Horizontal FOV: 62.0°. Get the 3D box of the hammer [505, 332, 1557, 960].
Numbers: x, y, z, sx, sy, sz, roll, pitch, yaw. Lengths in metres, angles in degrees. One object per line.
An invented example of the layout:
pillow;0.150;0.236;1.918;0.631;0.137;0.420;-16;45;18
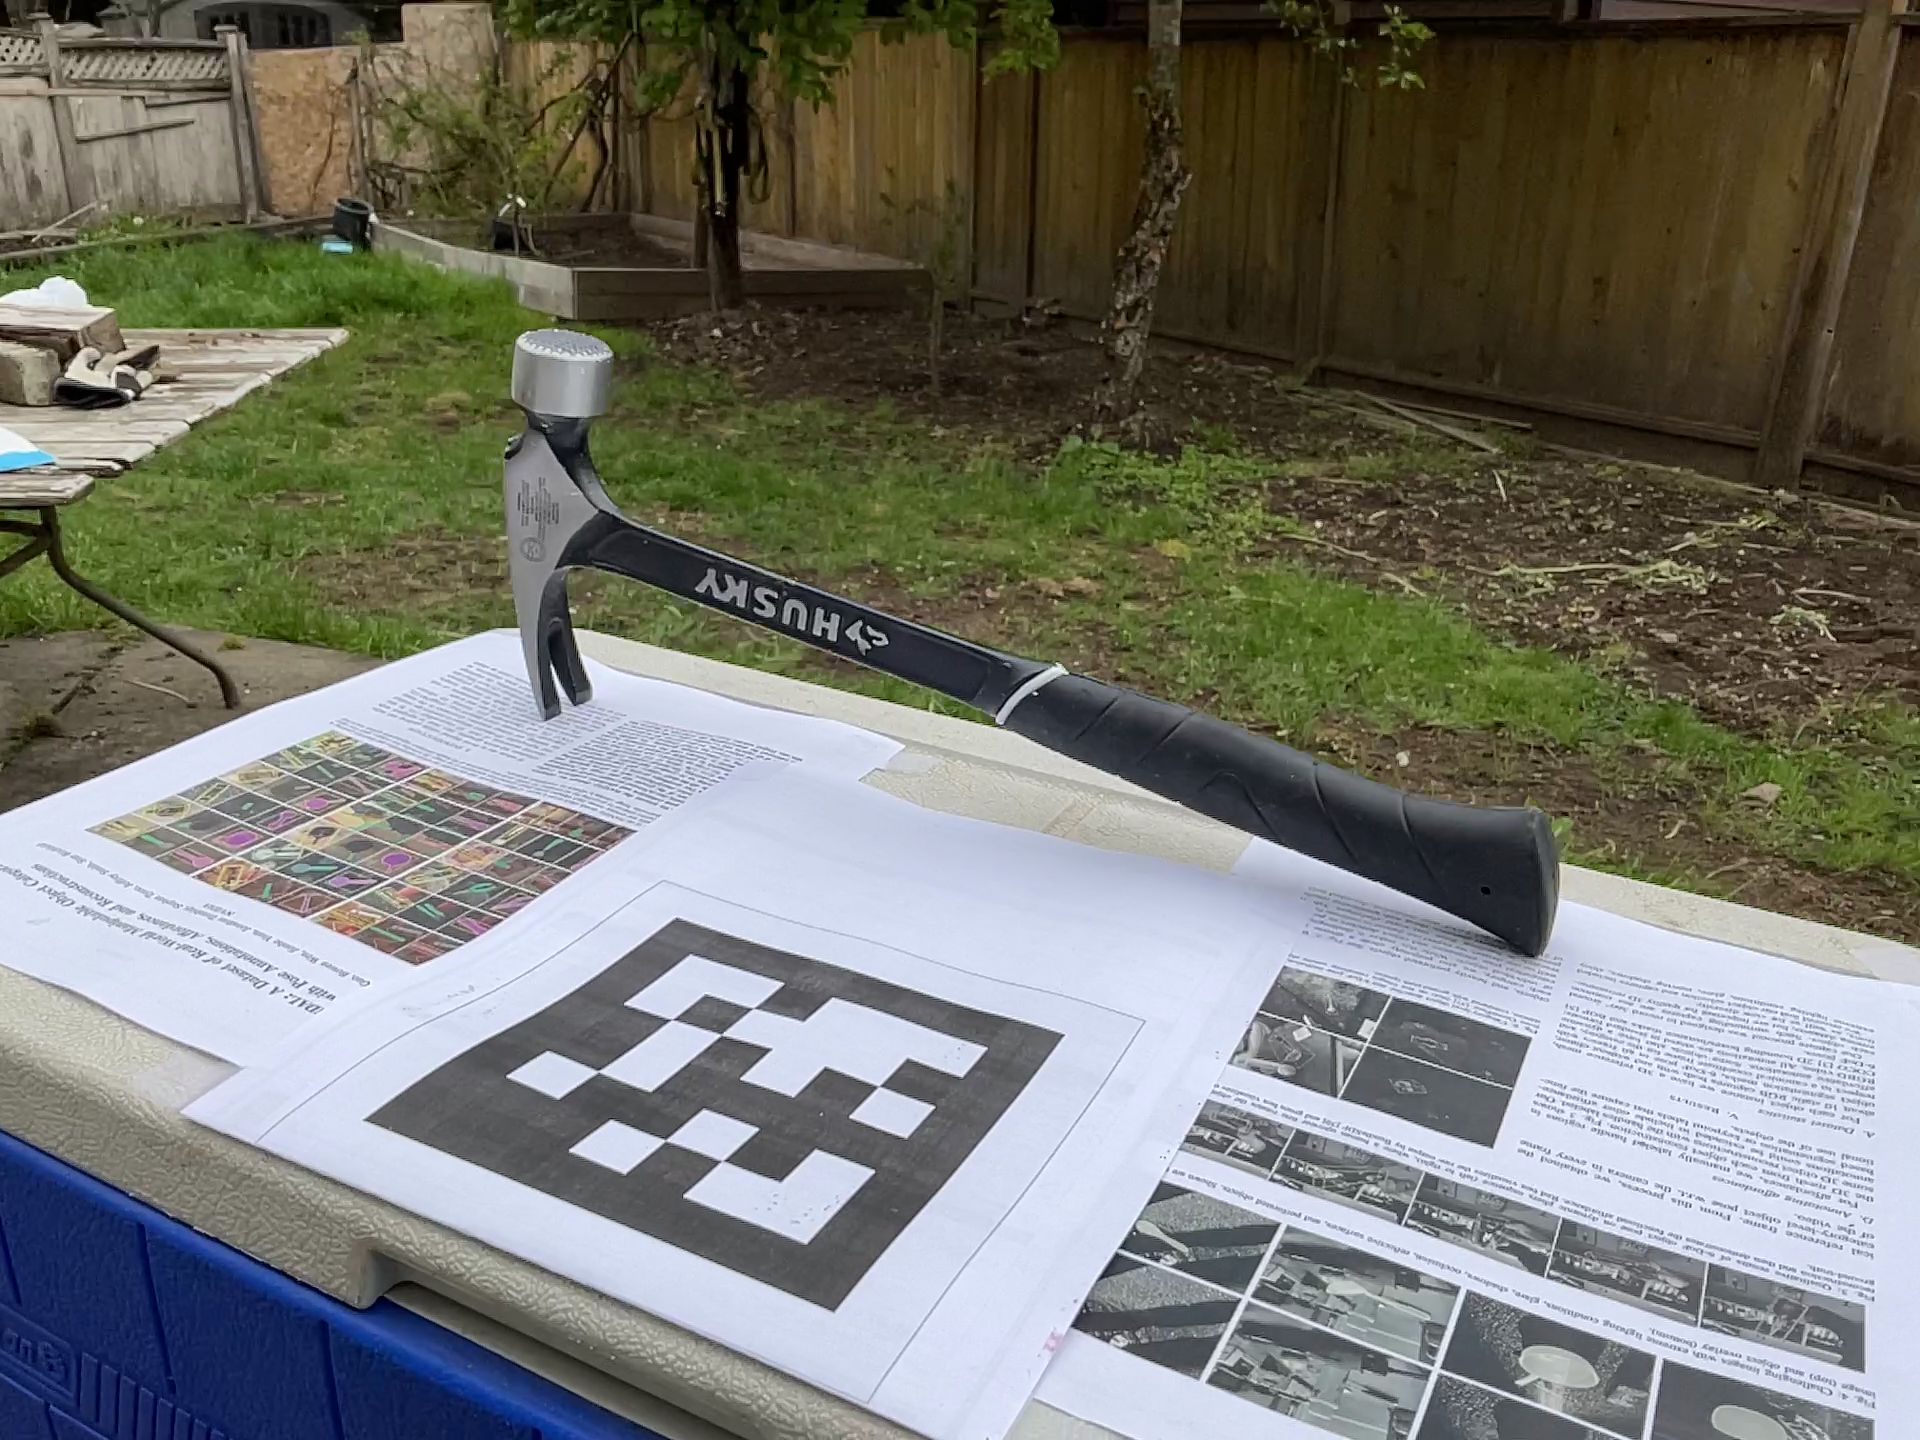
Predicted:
hammer;0.005;-0.009;0.562;0.409;0.149;0.036;22;27;19
